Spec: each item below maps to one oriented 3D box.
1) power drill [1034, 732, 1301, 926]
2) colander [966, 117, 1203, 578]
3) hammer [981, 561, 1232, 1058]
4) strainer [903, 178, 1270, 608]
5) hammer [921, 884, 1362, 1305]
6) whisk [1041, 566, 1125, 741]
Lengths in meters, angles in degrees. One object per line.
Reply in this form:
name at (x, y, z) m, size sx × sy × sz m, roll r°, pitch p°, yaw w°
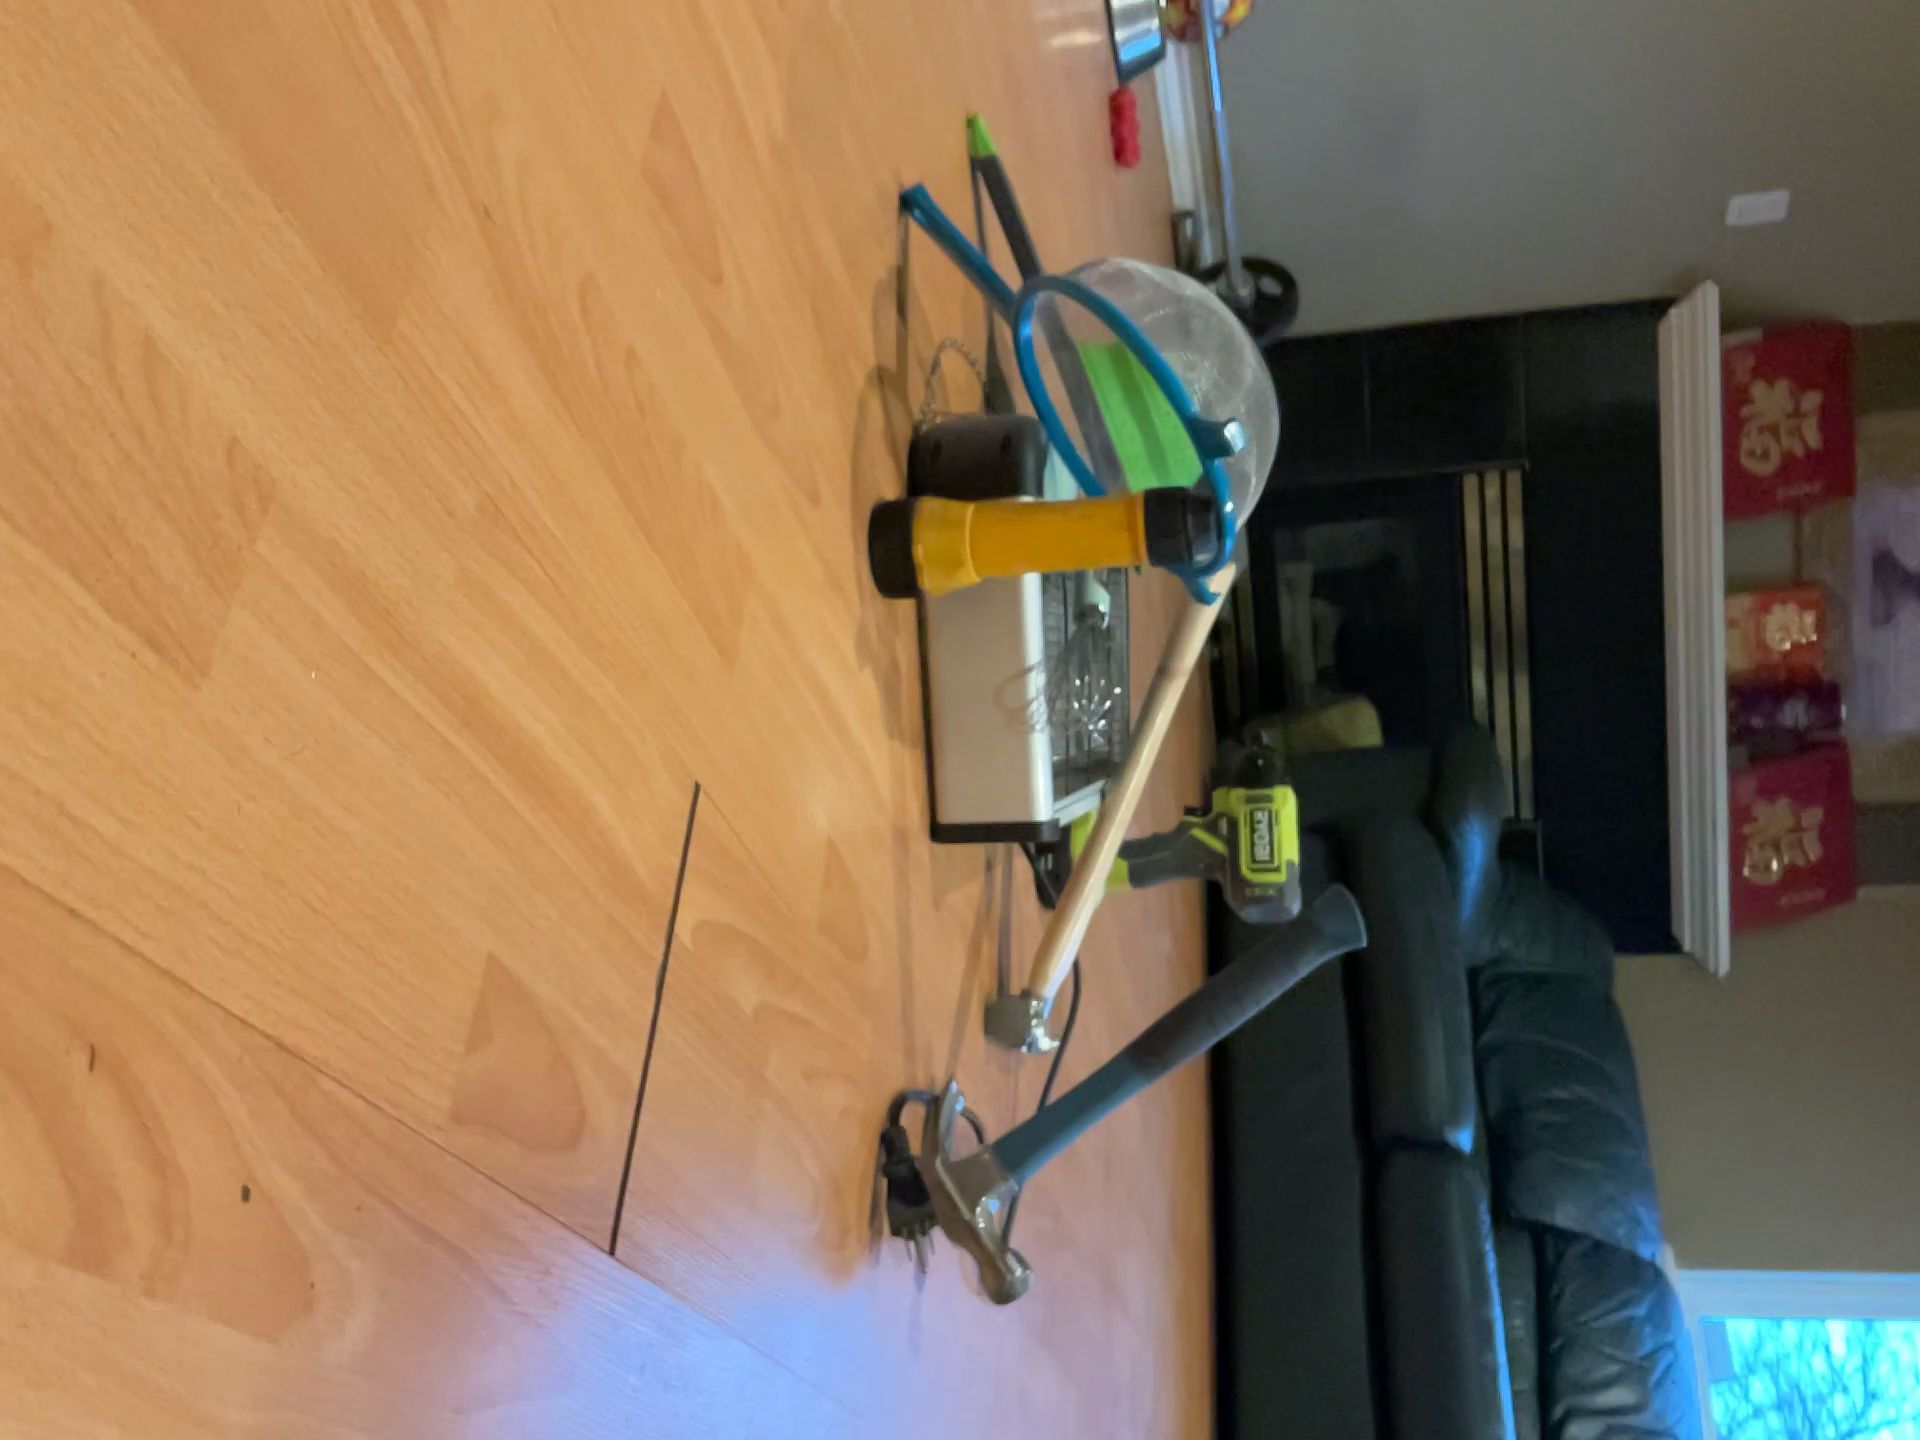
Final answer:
power drill at (0.182, 0.095, 1.410) m, size 0.080 × 0.223 × 0.171 m, roll 64°, pitch 25°, yaw -59°
colander at (0.115, -0.317, 1.321) m, size 0.204 × 0.094 × 0.397 m, roll -57°, pitch 126°, yaw -79°
hammer at (0.123, 0.064, 1.245) m, size 0.410 × 0.038 × 0.146 m, roll -67°, pitch 161°, yaw -7°
strainer at (0.091, -0.245, 1.013) m, size 0.340 × 0.095 × 0.210 m, roll 54°, pitch -12°, yaw 22°
hammer at (0.119, 0.210, 0.993) m, size 0.128 × 0.331 × 0.033 m, roll 46°, pitch -17°, yaw 39°
whisk at (0.088, -0.066, 1.093) m, size 0.057 × 0.059 × 0.246 m, roll 46°, pitch 28°, yaw -23°
